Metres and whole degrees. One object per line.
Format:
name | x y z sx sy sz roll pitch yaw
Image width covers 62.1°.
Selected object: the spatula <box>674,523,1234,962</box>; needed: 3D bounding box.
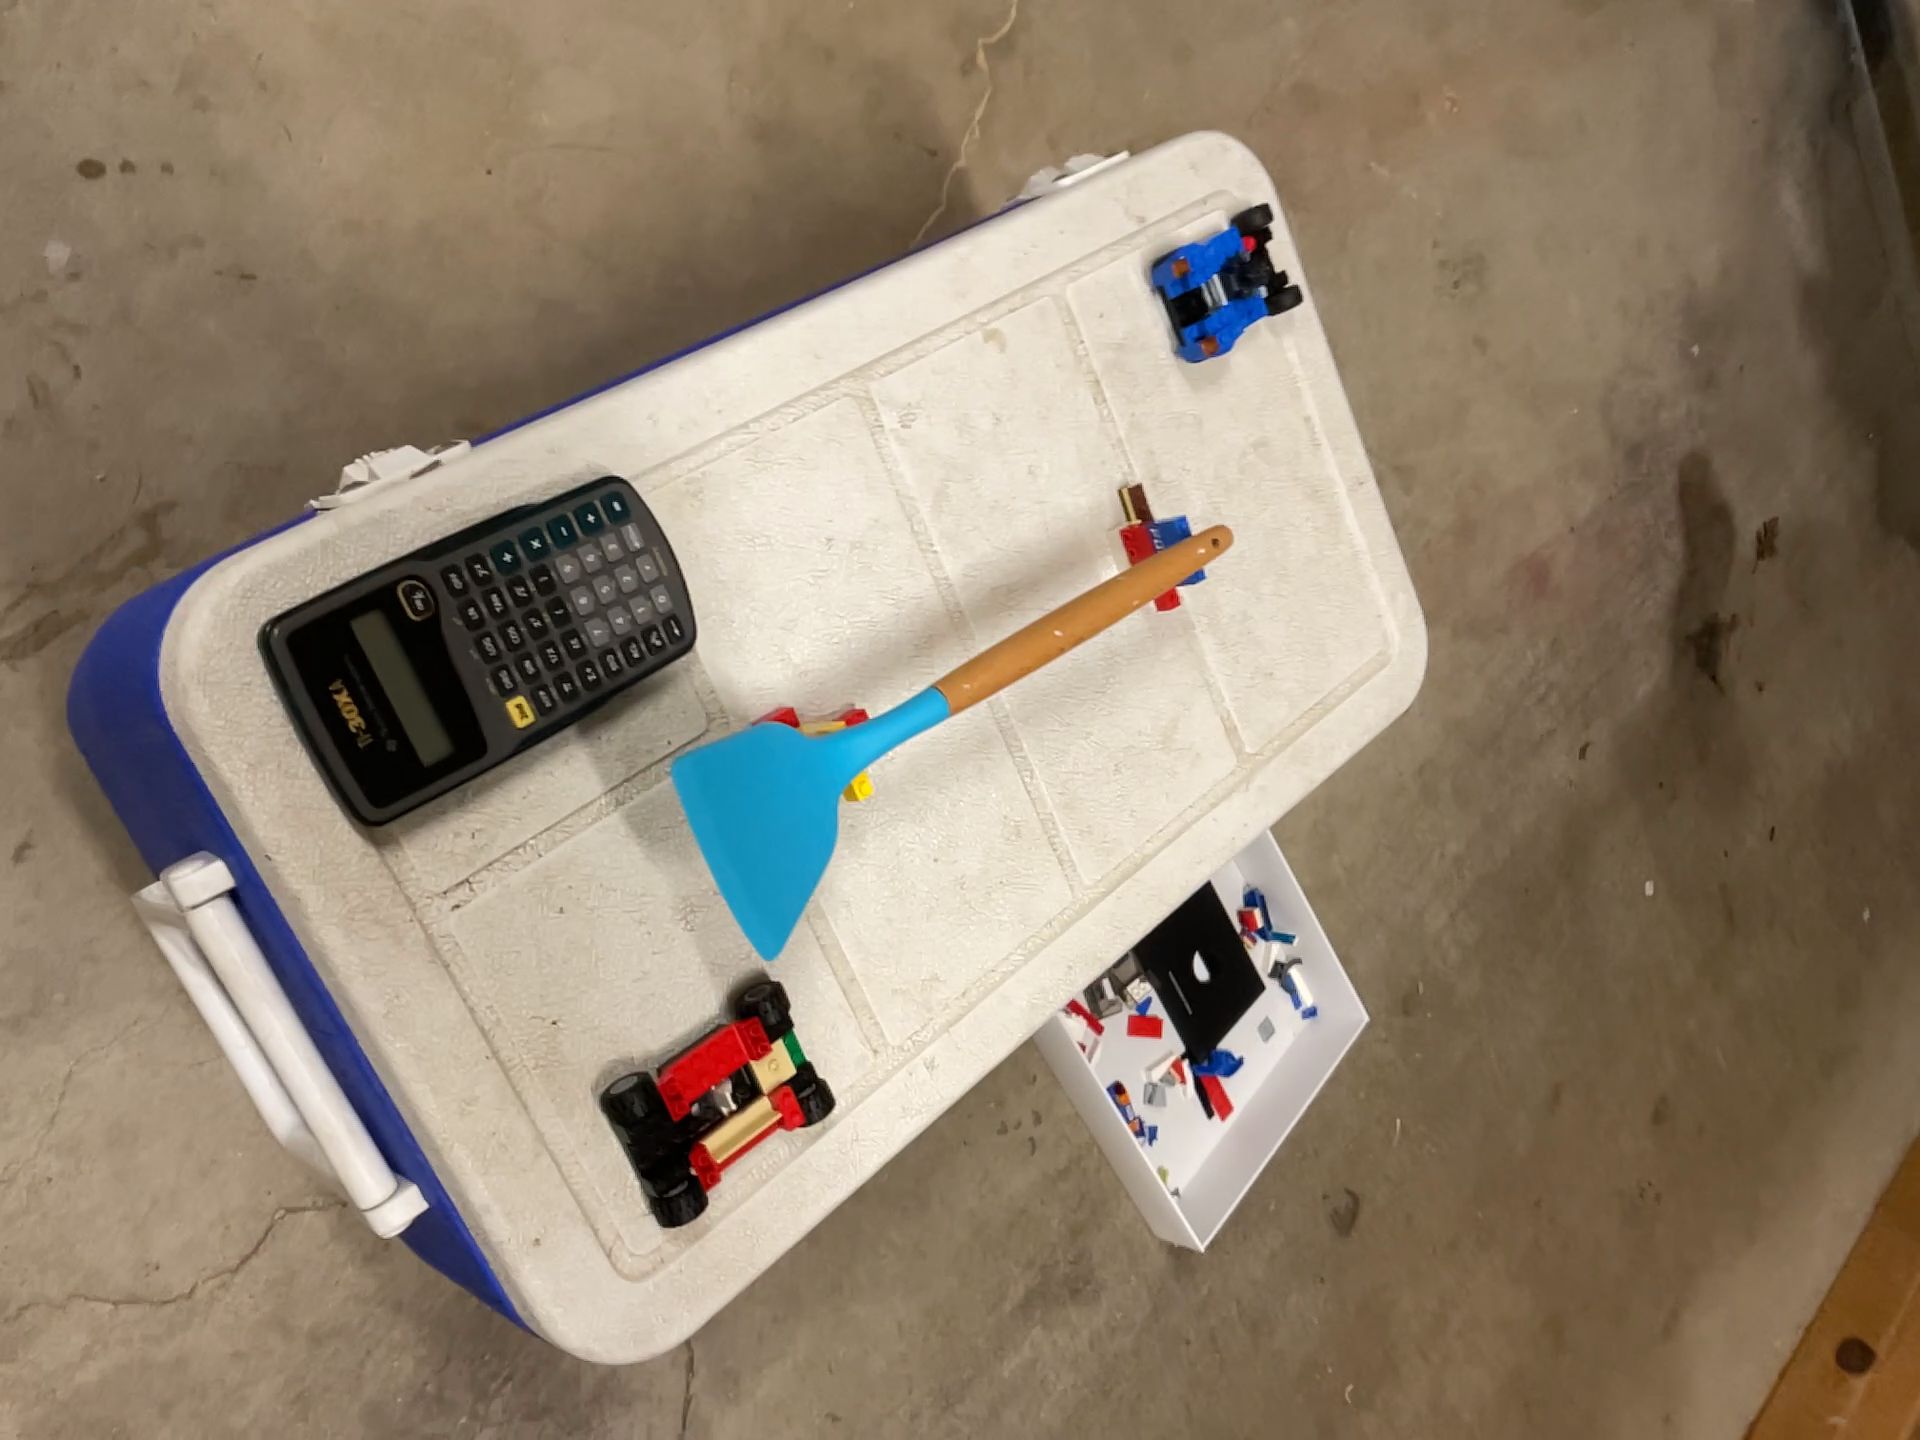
spatula | 0.017 -0.018 0.644 0.318 0.044 0.082 -32 104 -34
